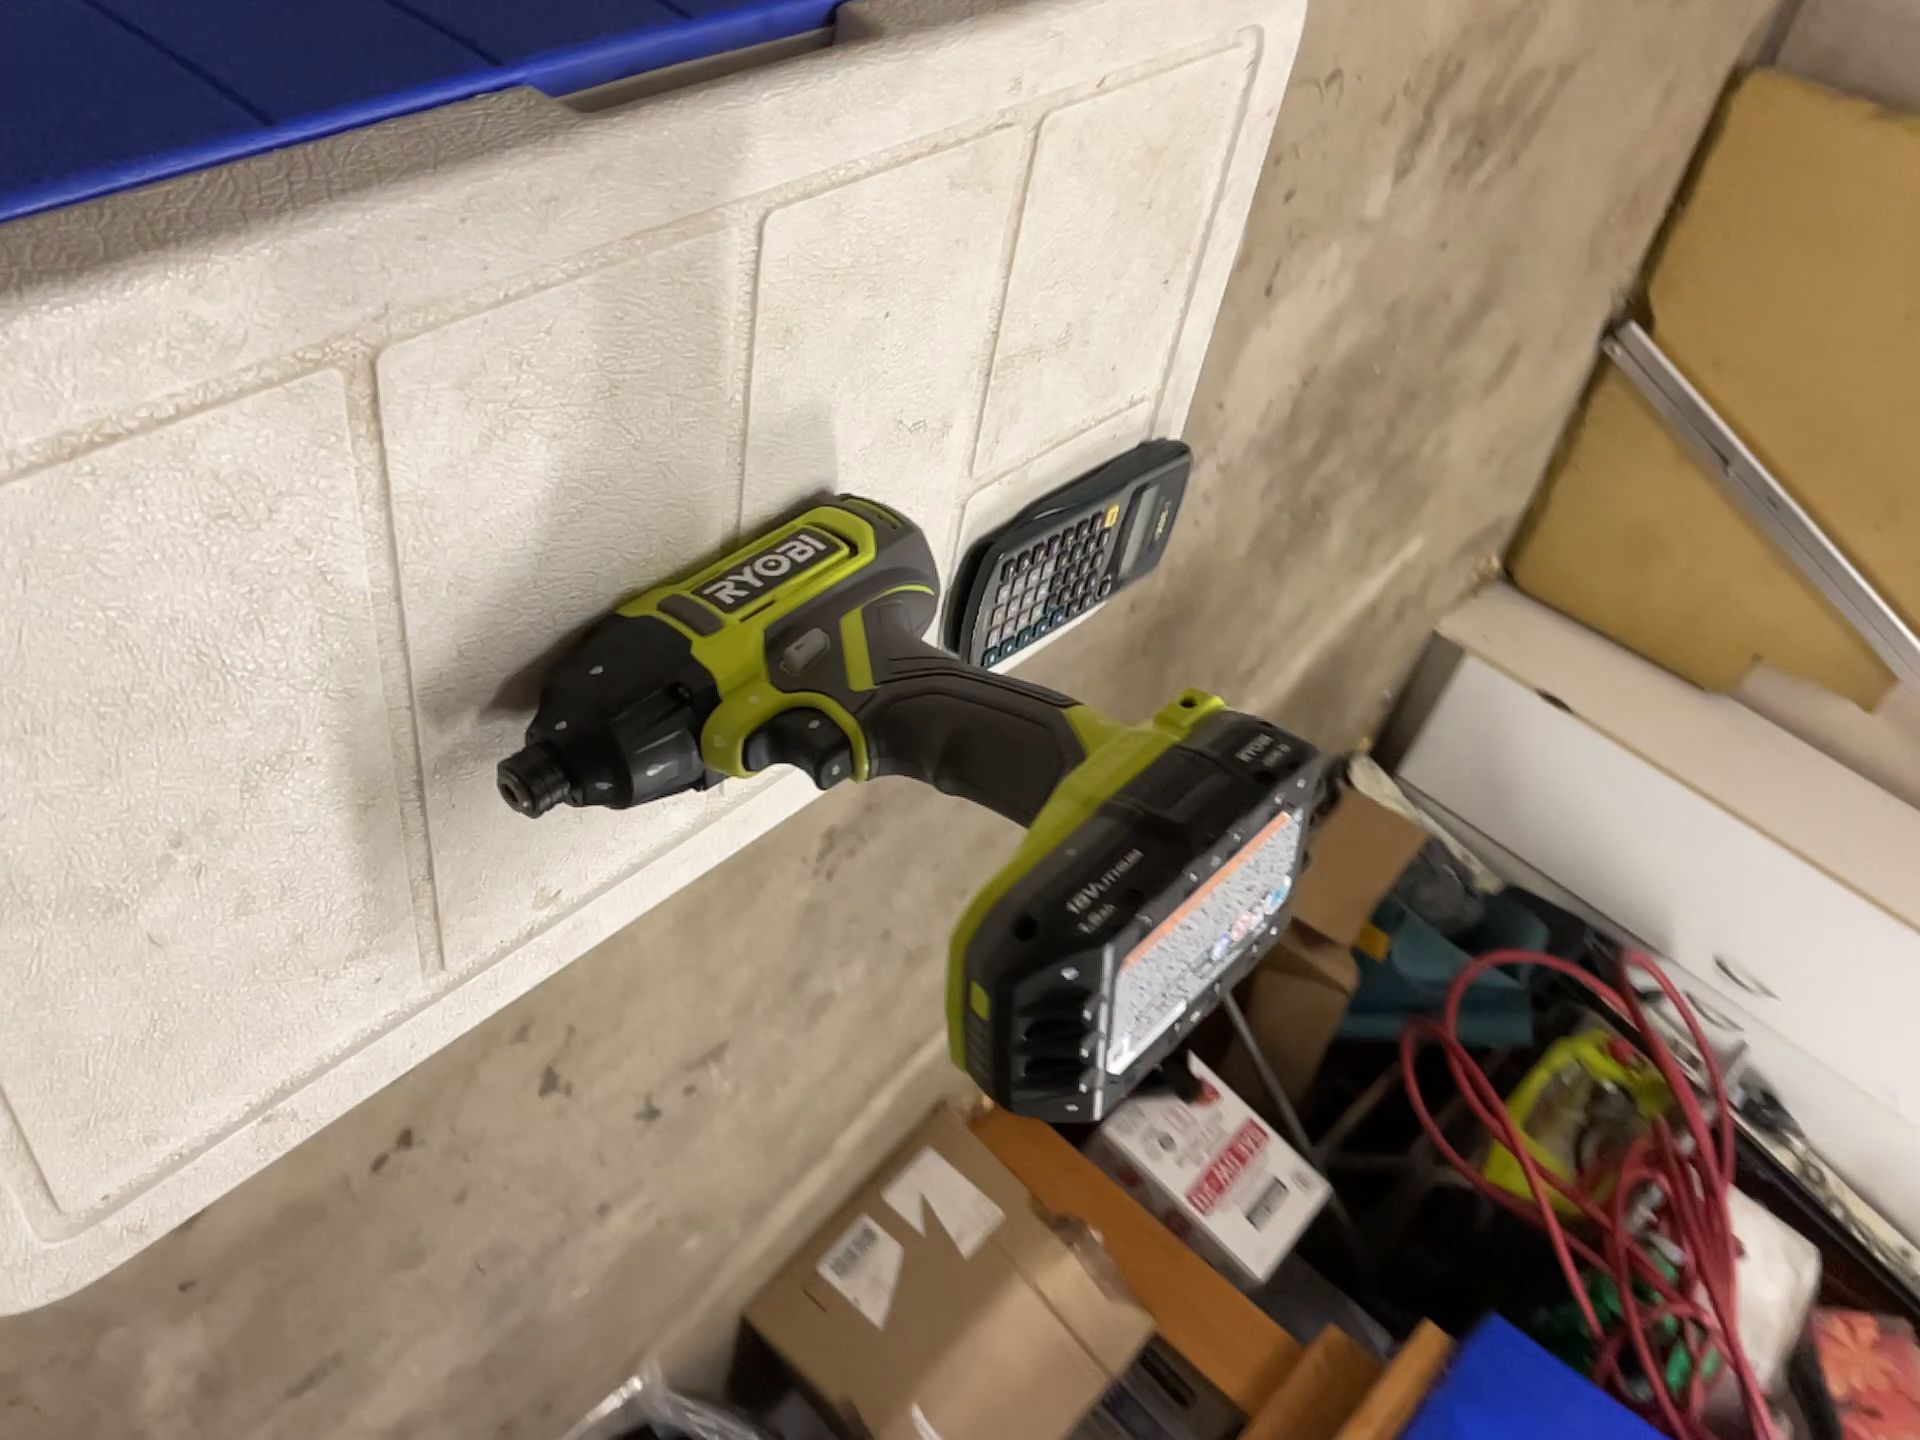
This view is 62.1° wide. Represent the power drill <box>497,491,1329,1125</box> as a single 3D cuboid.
[{"bbox_3d":[-0.018,0.017,0.493,0.171,0.223,0.080,-36,141,-35],"label":"power drill"}]
